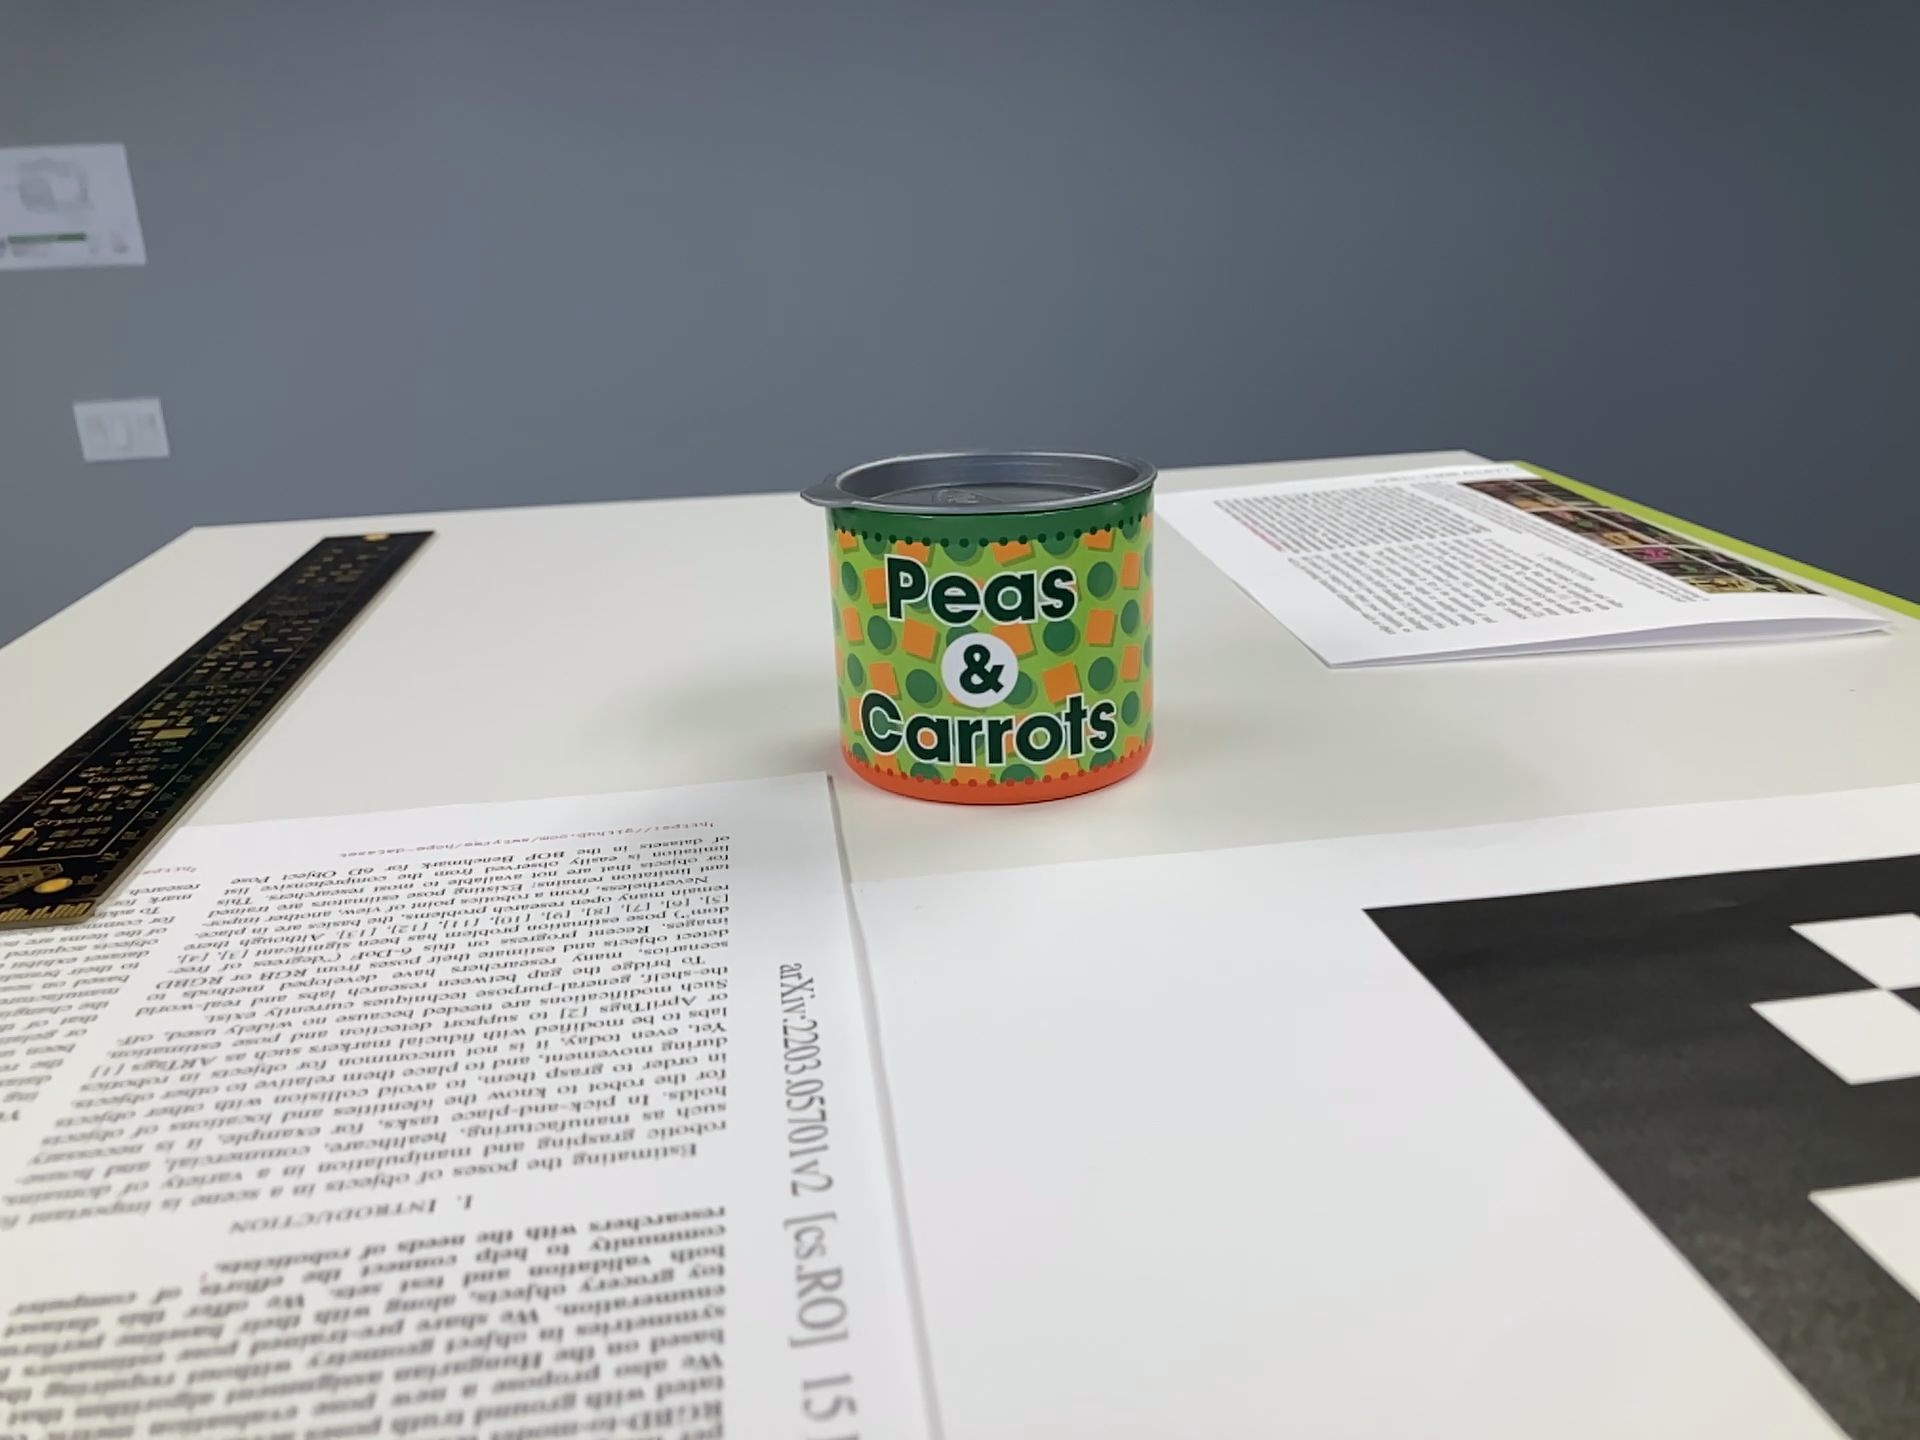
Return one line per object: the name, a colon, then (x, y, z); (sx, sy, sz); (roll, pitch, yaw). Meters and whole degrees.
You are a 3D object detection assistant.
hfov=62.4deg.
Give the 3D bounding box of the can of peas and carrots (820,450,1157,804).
can of peas and carrots: (0.006, -0.020, 0.319); (0.071, 0.059, 0.071); (-2, 18, 1)
